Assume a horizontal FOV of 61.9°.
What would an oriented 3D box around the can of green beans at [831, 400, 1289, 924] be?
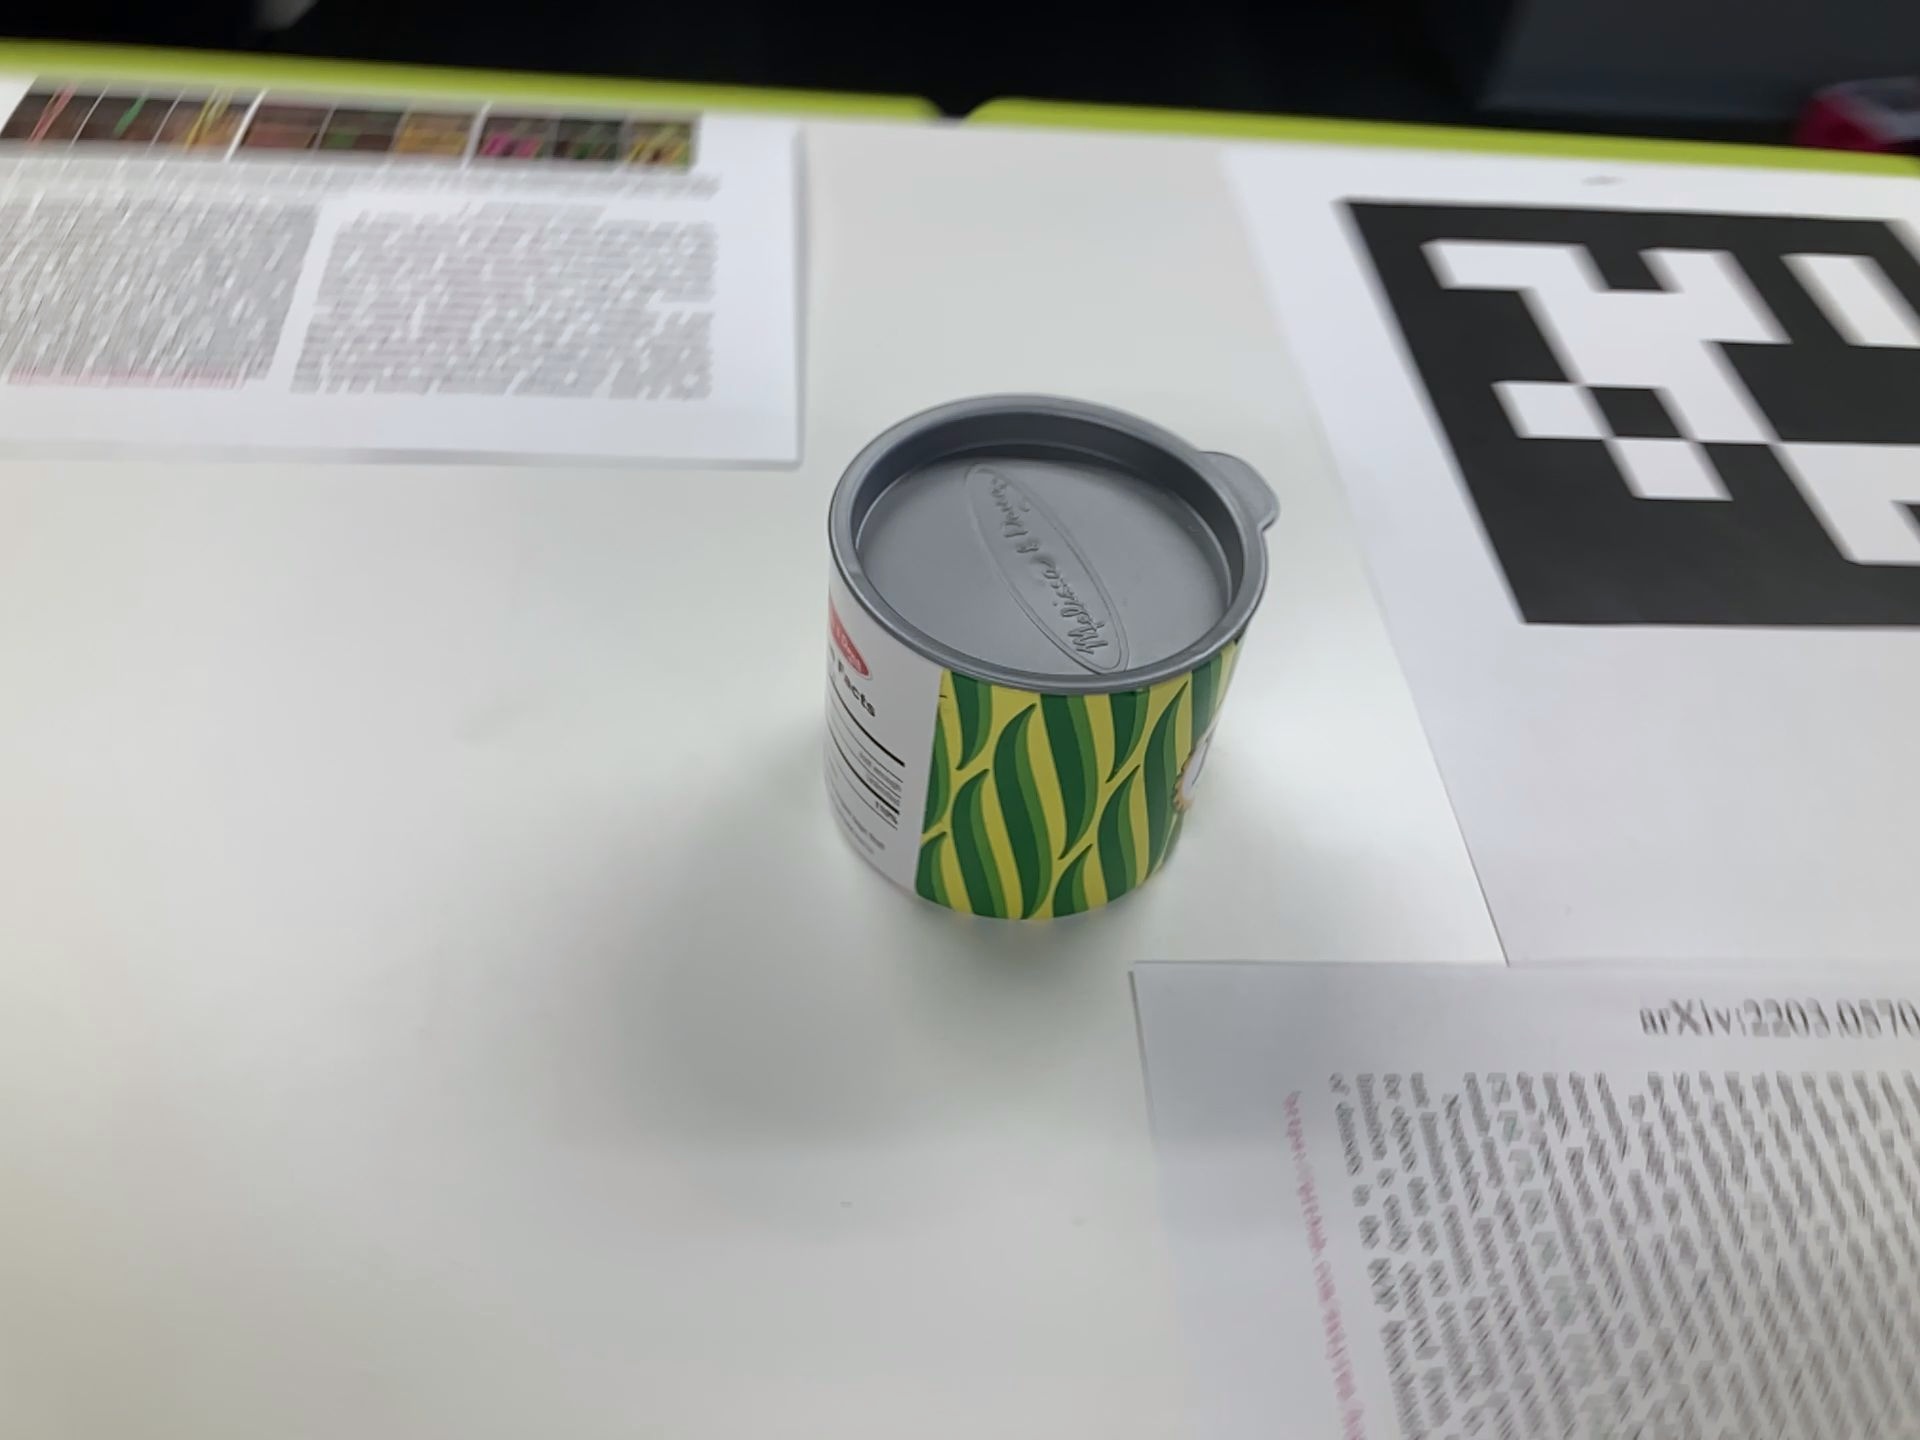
[{"bbox_3d":[0.012,-0.009,0.262,0.071,0.058,0.071,3,48,-4],"label":"can of green beans"}]
